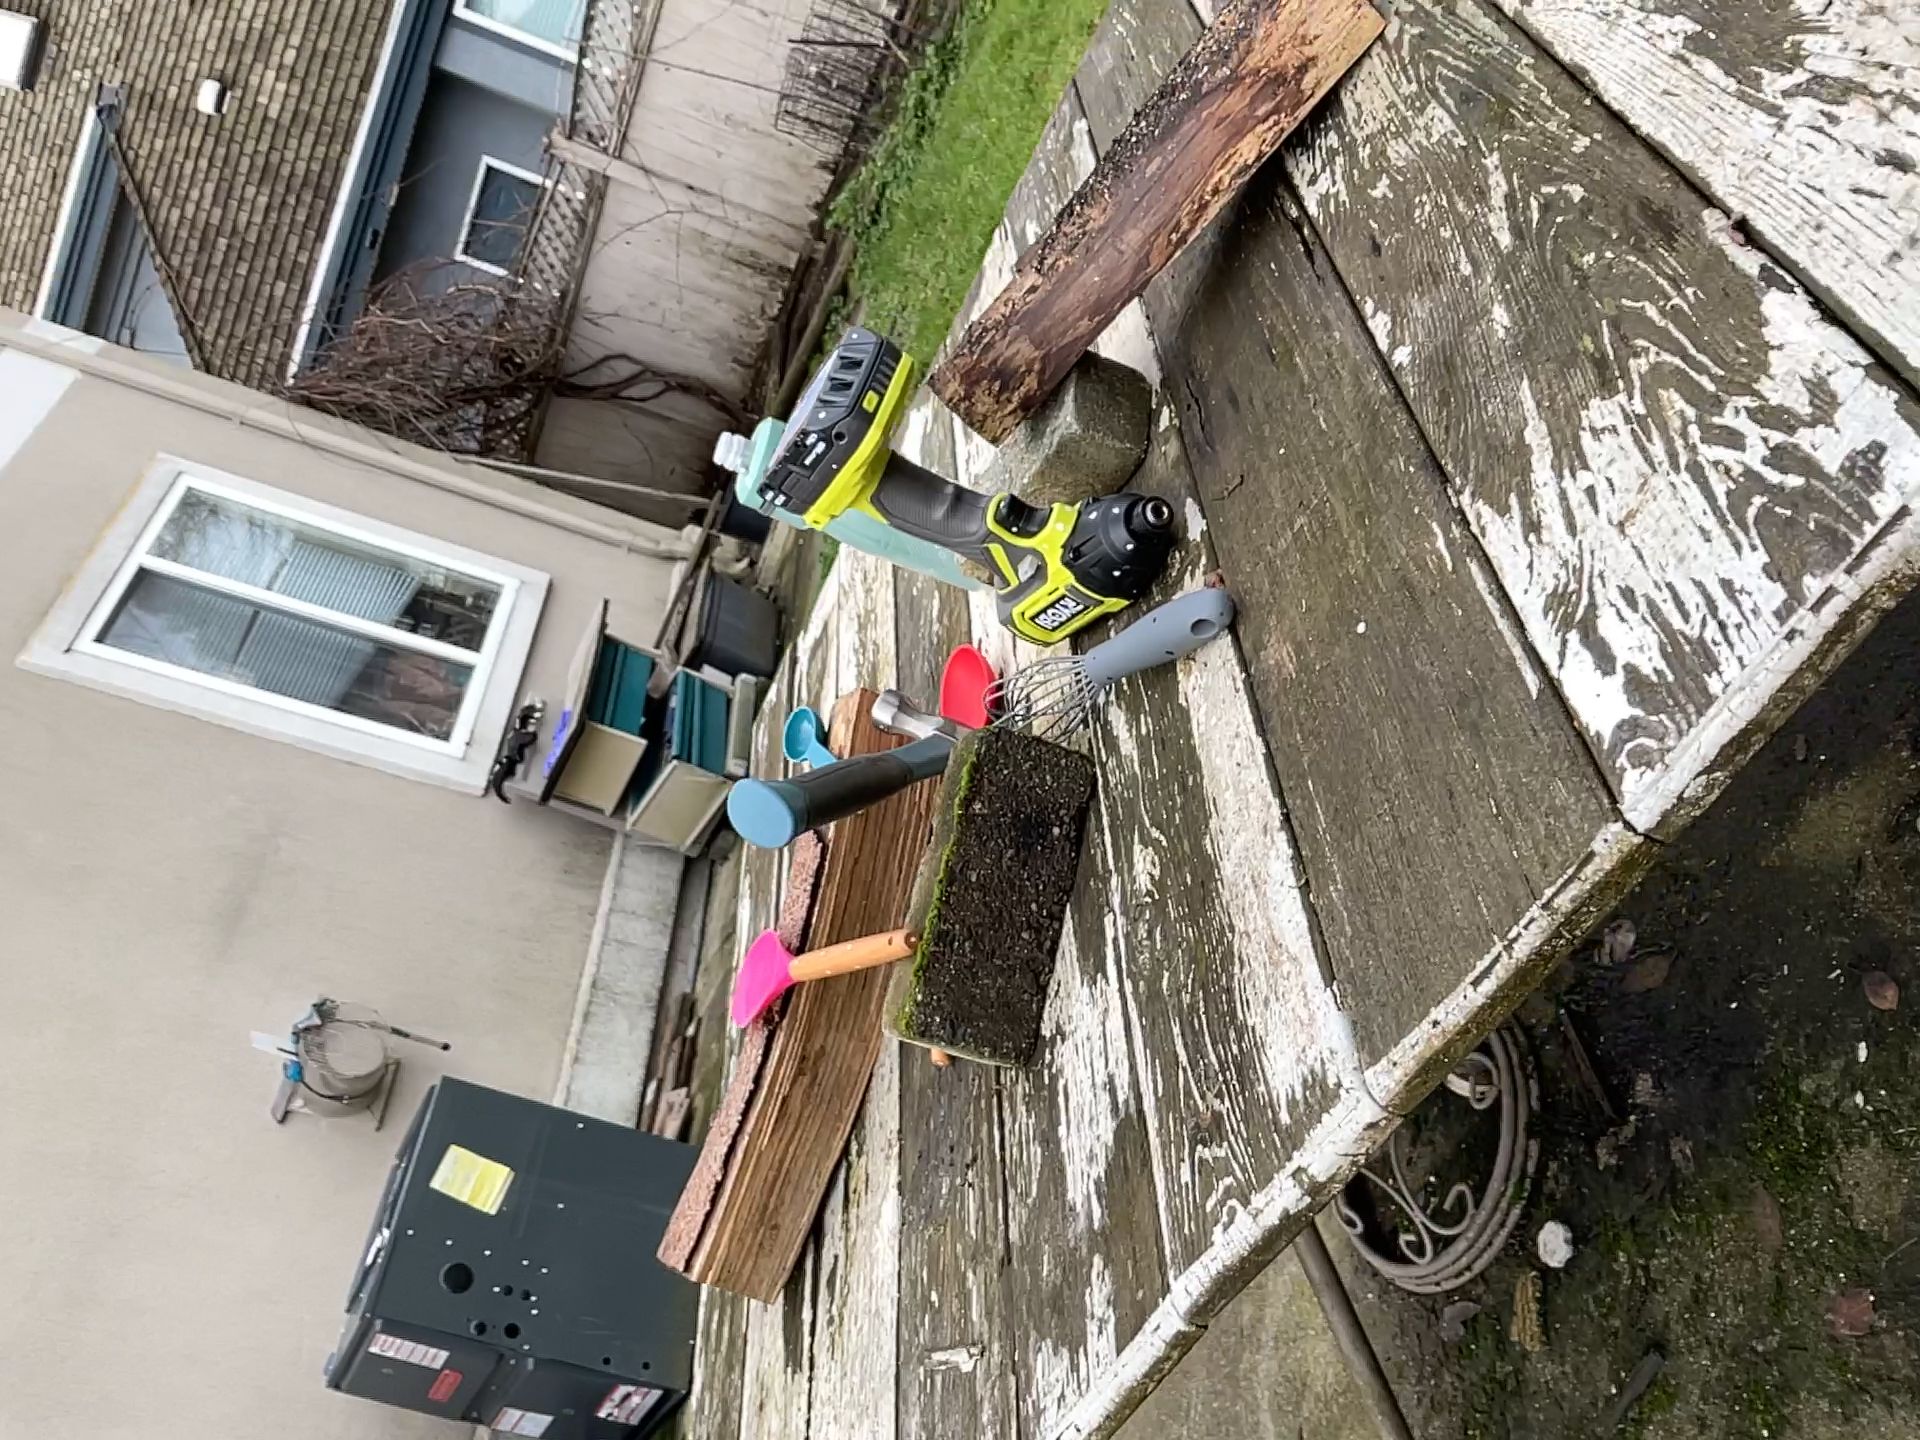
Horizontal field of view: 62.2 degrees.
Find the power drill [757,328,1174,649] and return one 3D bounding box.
[{"bbox_3d":[0.007,-0.132,0.945,0.171,0.223,0.080,-33,33,62],"label":"power drill"}]

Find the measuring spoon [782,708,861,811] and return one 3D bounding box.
[{"bbox_3d":[-0.093,0.033,1.161,0.129,0.021,0.042,43,114,48],"label":"measuring spoon"}]

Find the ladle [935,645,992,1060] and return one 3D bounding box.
[{"bbox_3d":[-0.002,0.082,1.084,0.069,0.031,0.316,-48,30,48],"label":"ladle"}]

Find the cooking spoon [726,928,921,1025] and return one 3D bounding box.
[{"bbox_3d":[-0.096,0.157,1.017,0.319,0.017,0.069,-26,46,61],"label":"cooking spoon"}]

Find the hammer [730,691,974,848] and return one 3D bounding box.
[{"bbox_3d":[-0.046,0.031,0.932,0.033,0.128,0.331,-70,-16,12],"label":"hammer"}]

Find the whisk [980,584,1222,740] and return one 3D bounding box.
[{"bbox_3d":[0.076,-0.031,0.903,0.239,0.055,0.055,148,130,-60],"label":"whisk"}]
